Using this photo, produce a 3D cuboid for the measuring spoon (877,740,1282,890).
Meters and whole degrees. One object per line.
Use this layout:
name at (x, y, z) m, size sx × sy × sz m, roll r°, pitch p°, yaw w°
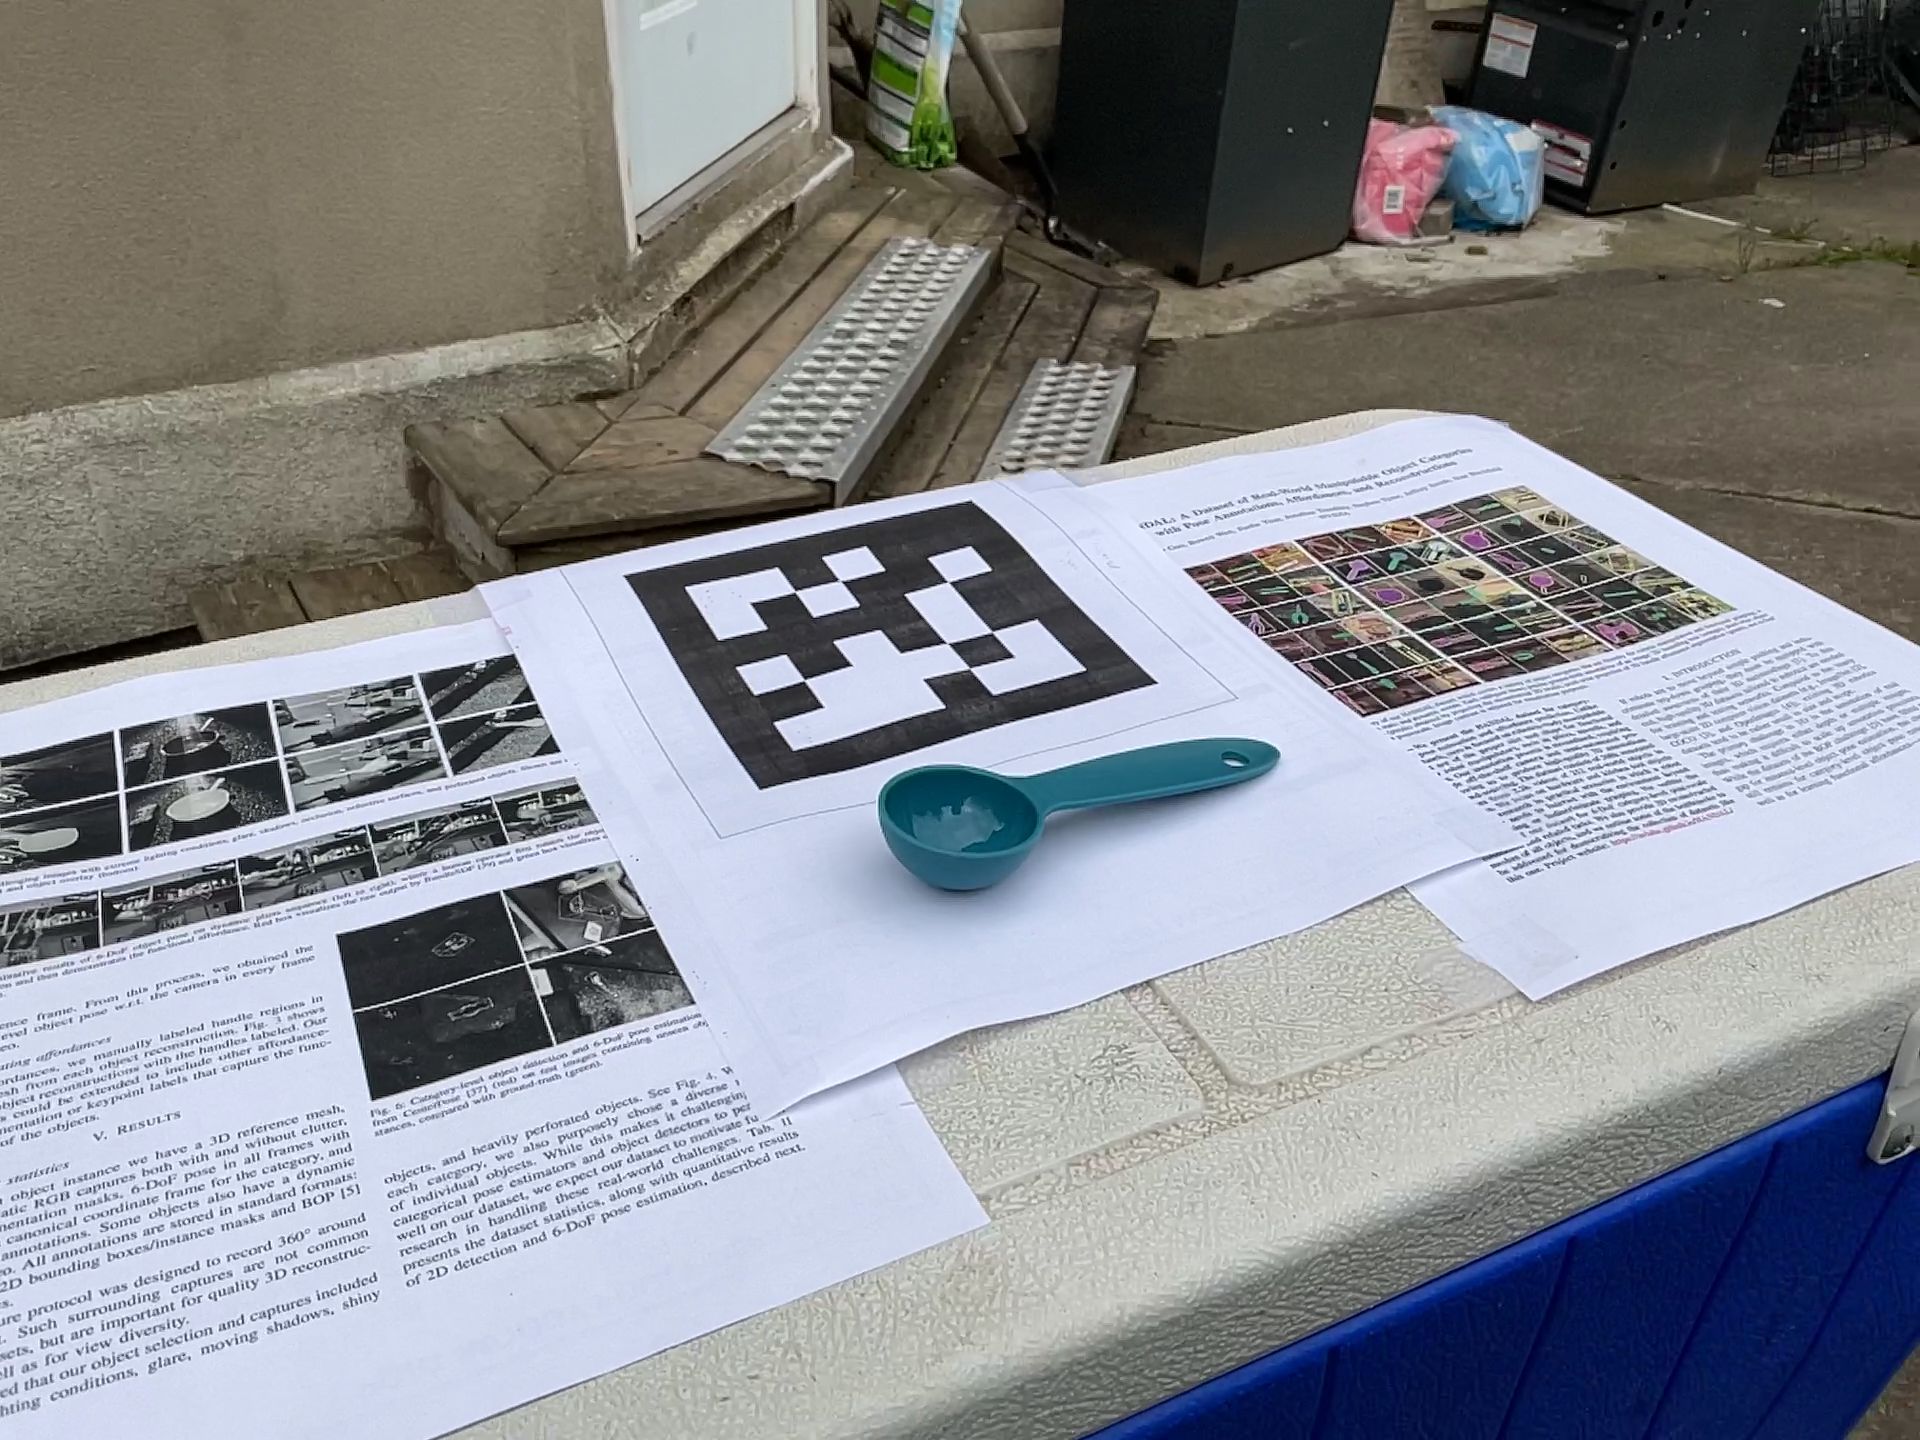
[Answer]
measuring spoon at (0.035, 0.025, 0.430) m, size 0.128 × 0.021 × 0.042 m, roll -9°, pitch 33°, yaw -31°
